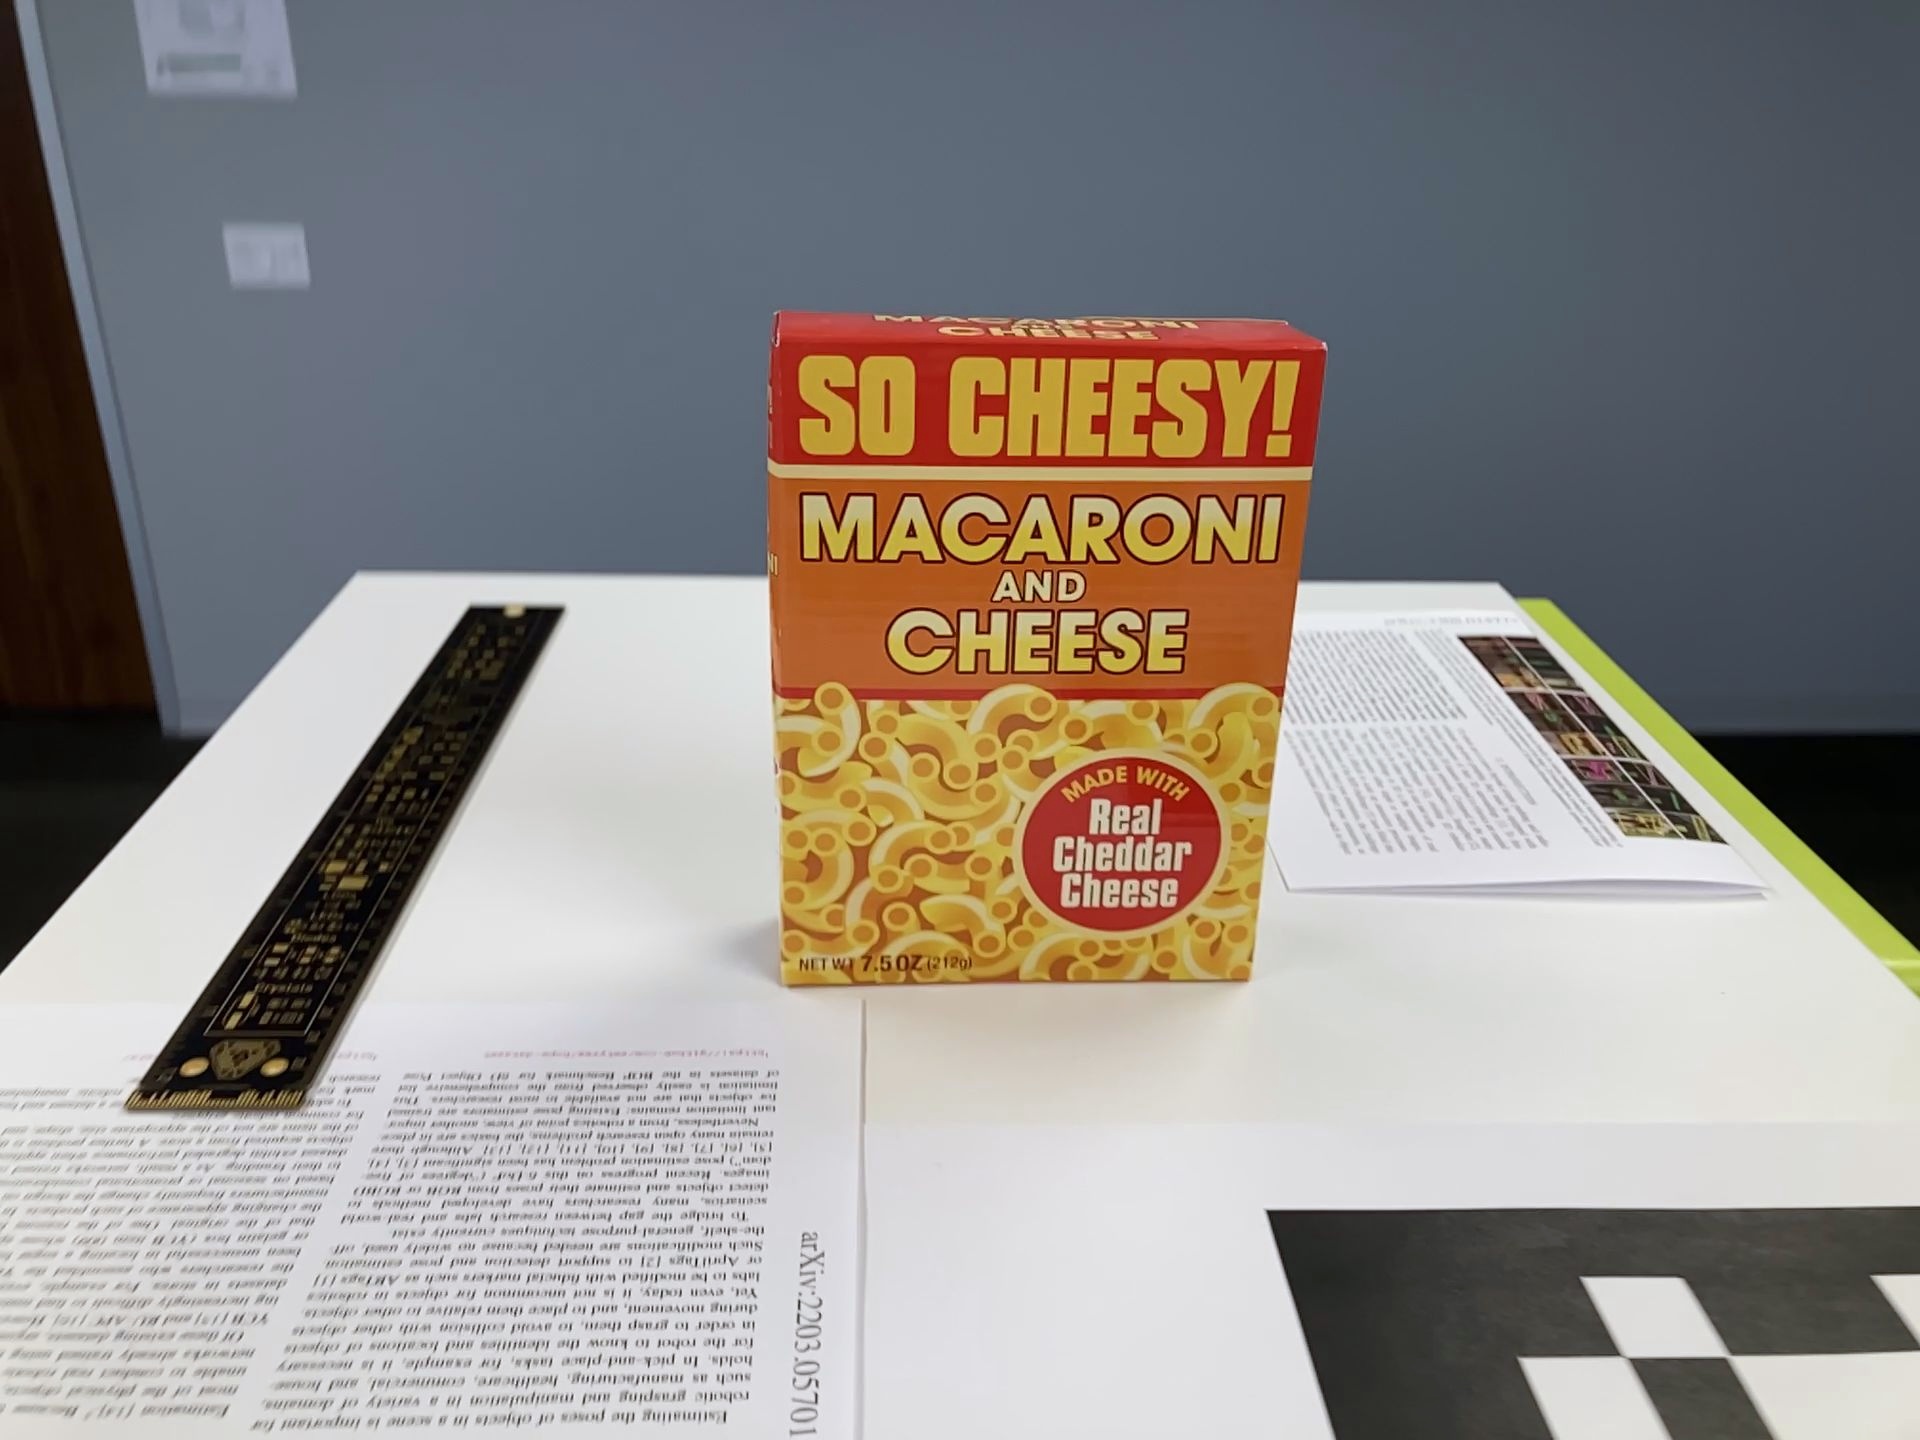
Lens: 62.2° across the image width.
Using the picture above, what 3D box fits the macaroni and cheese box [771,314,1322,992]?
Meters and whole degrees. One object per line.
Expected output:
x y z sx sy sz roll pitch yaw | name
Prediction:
0.016 -0.014 0.395 0.124 0.166 0.040 -1 24 -5 | macaroni and cheese box
